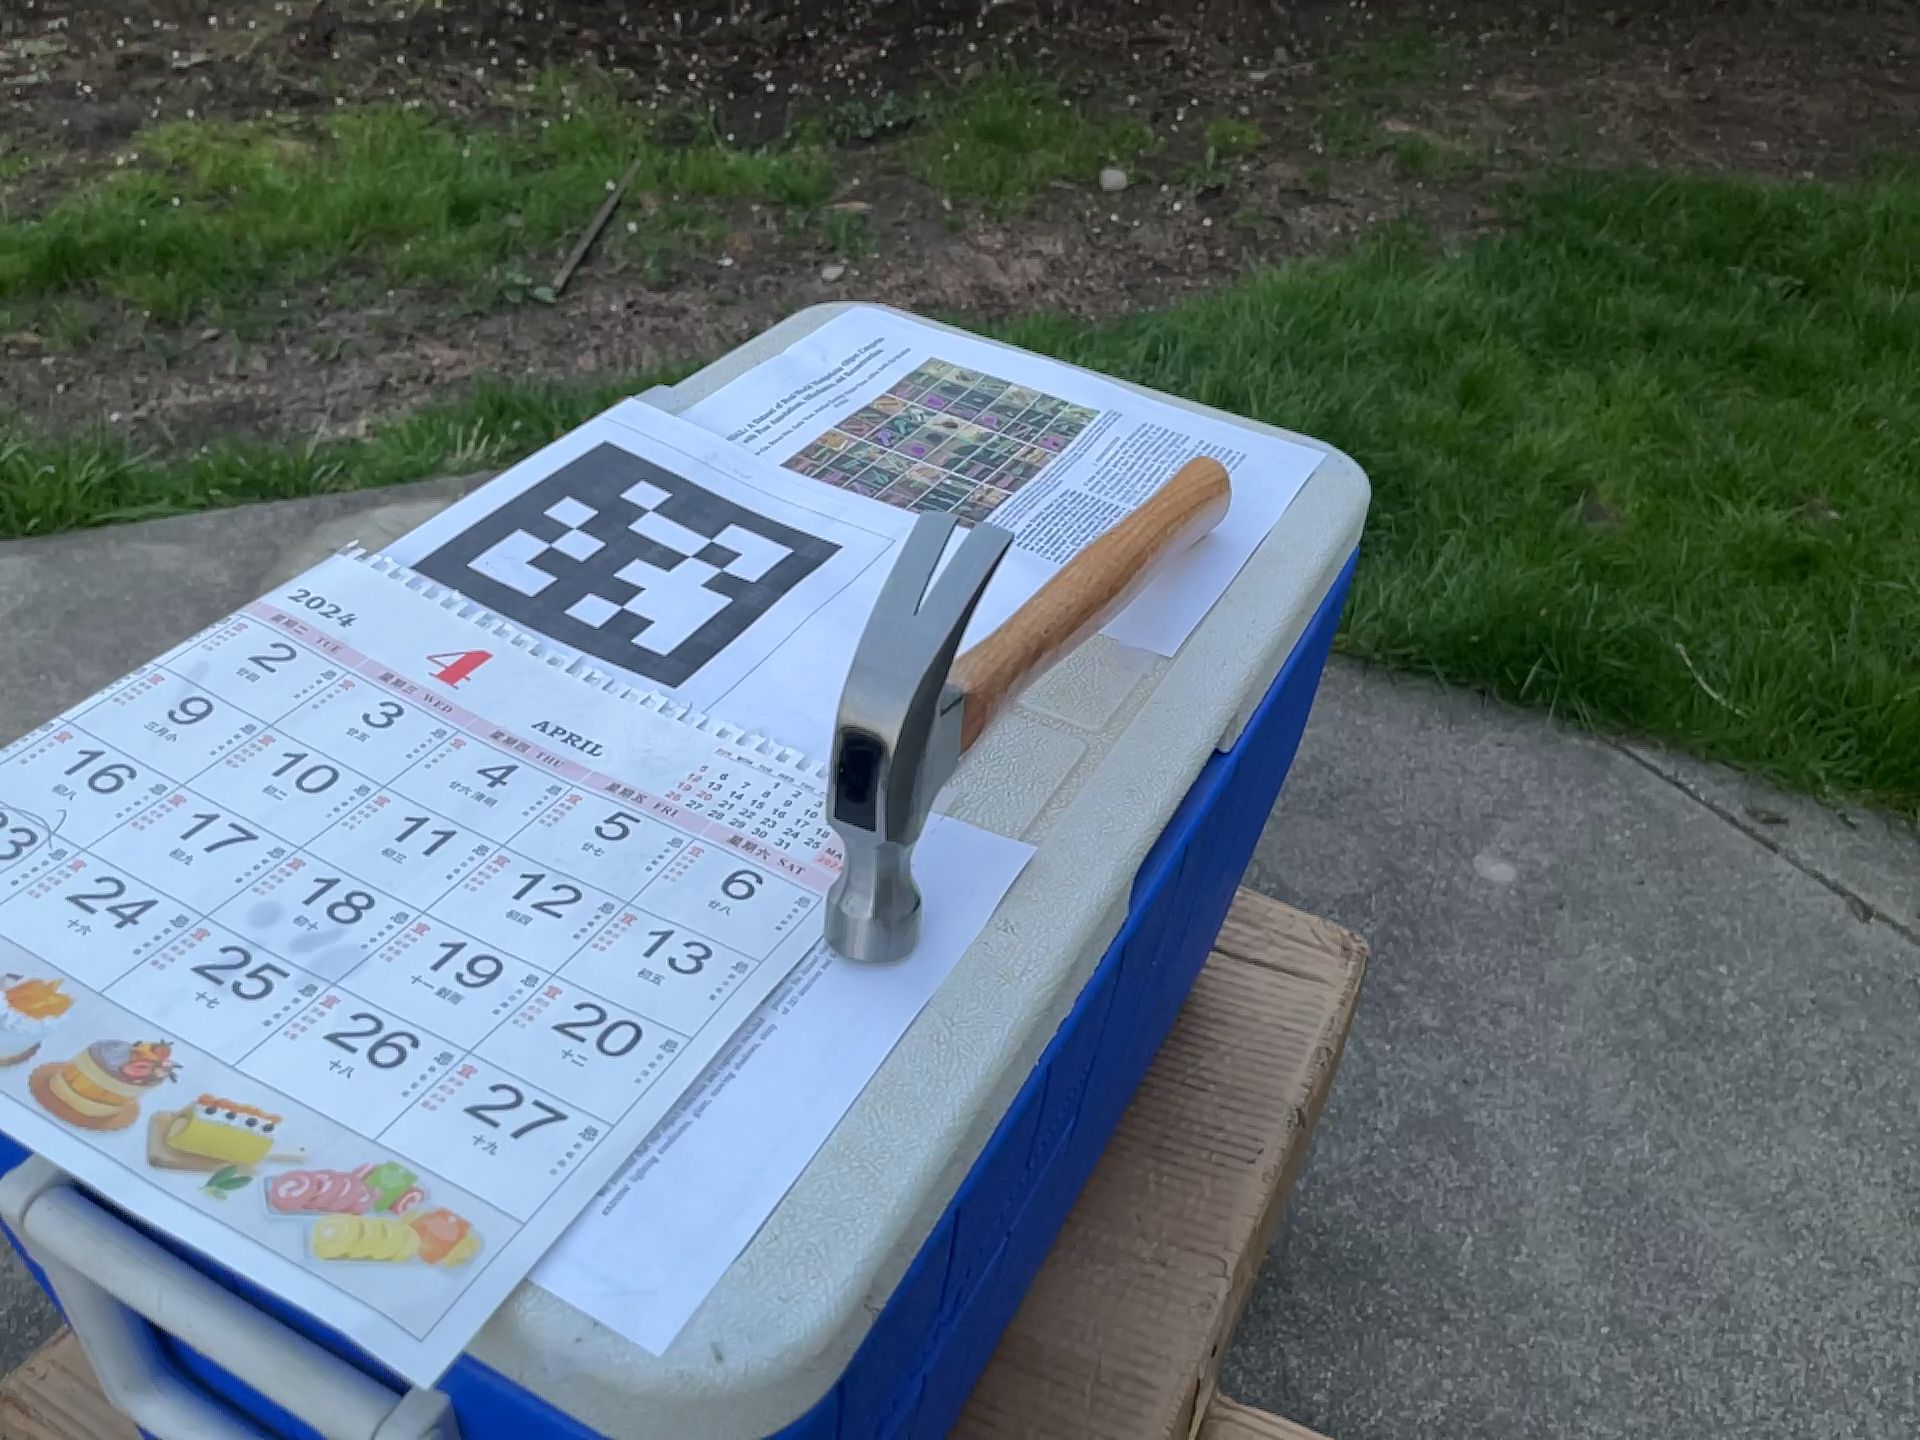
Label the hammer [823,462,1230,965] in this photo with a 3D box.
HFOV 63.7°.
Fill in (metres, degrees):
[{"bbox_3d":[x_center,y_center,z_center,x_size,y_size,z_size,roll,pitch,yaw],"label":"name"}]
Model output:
[{"bbox_3d":[0.042,-0.044,0.587,0.031,0.130,0.331,17,30,20],"label":"hammer"}]
